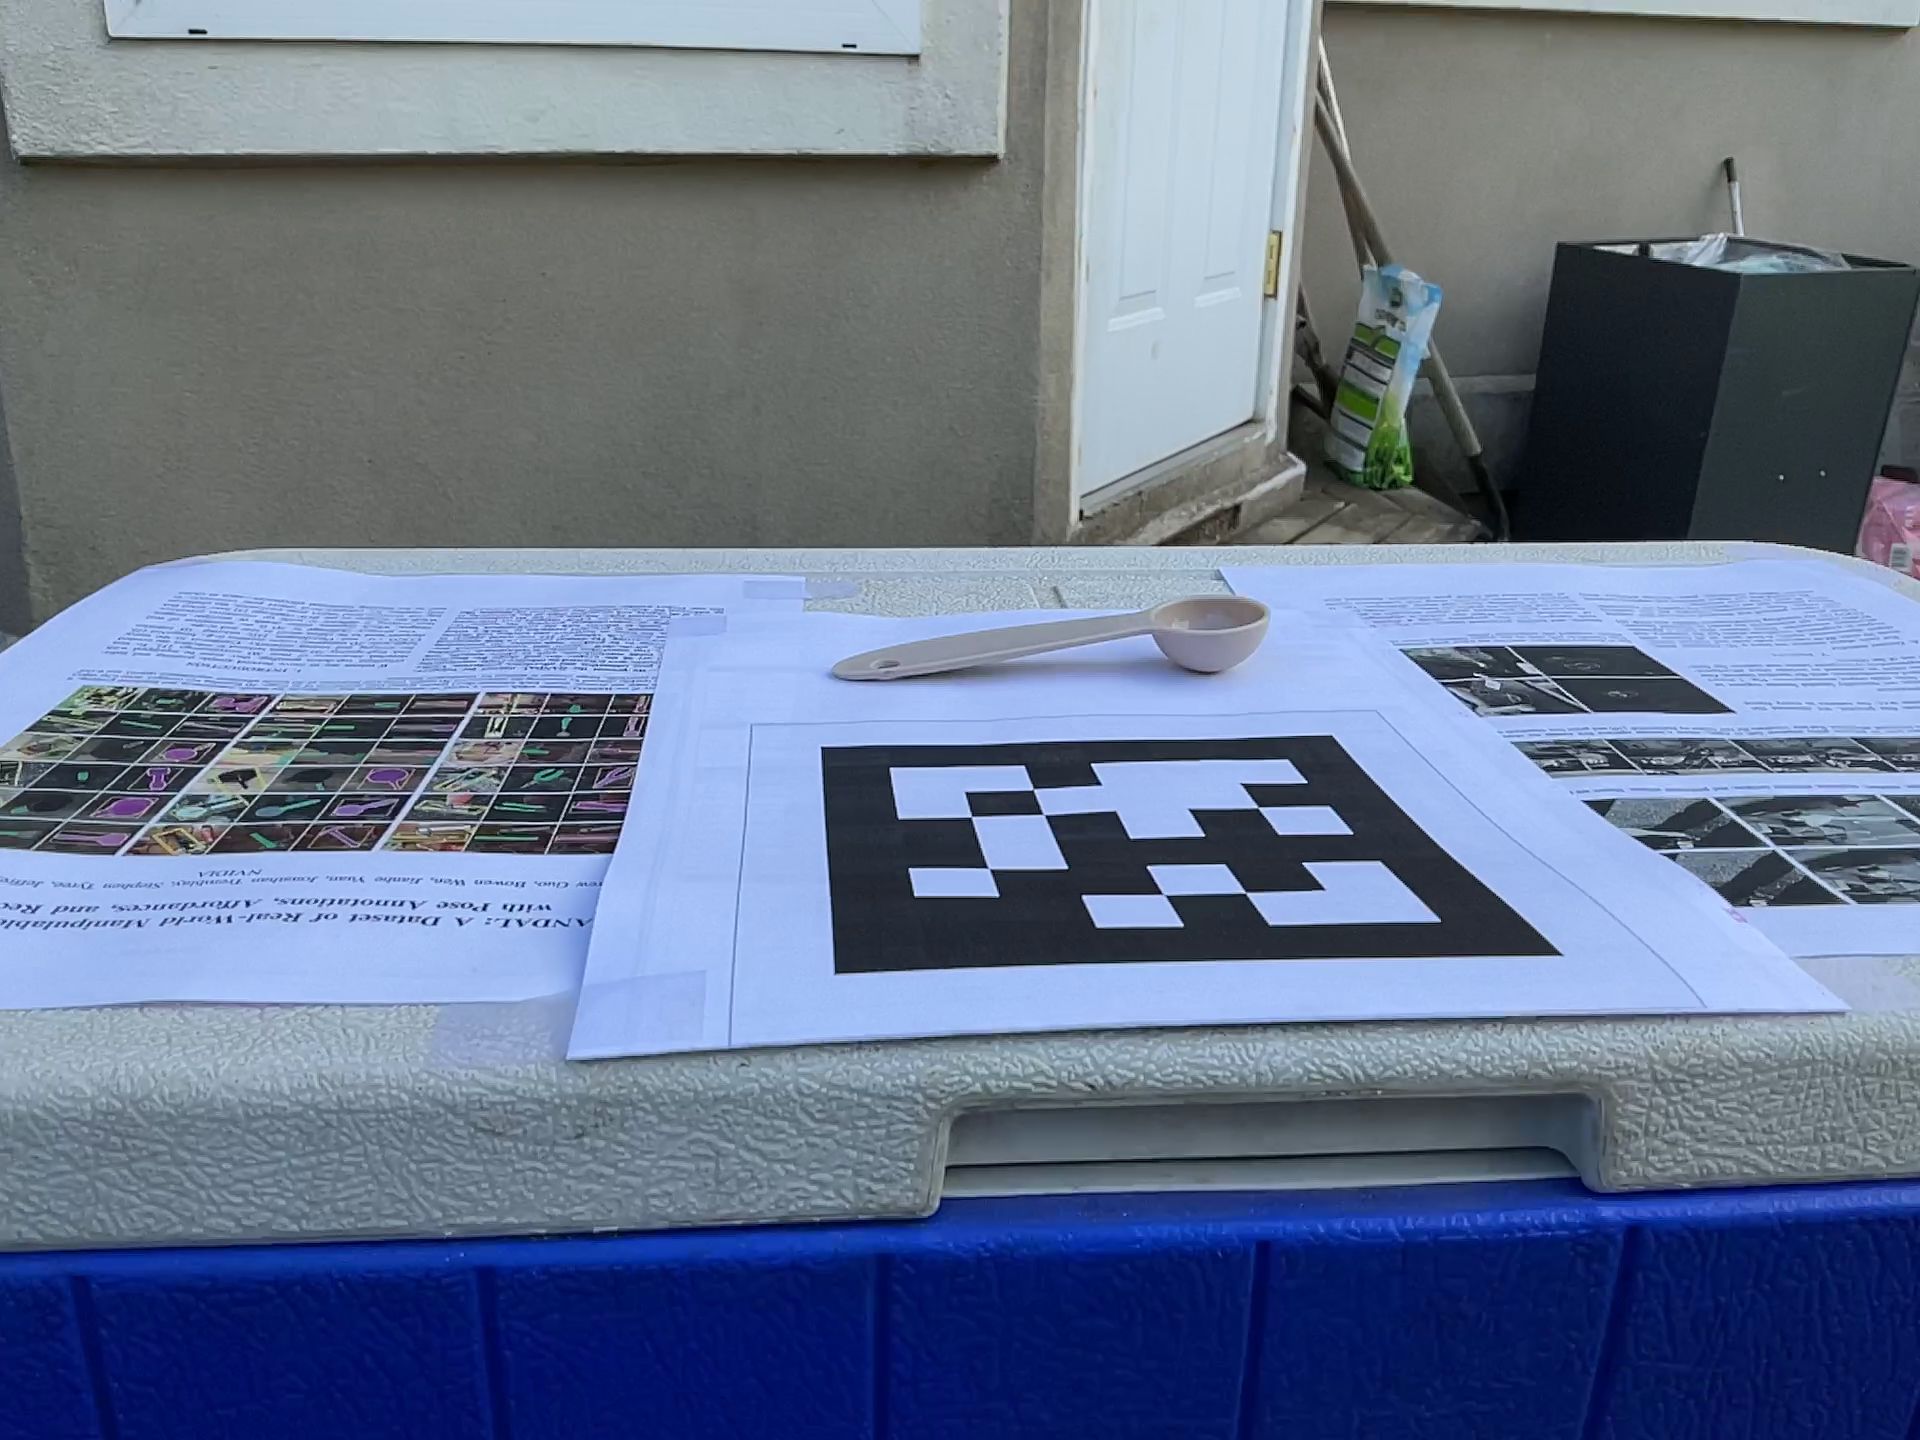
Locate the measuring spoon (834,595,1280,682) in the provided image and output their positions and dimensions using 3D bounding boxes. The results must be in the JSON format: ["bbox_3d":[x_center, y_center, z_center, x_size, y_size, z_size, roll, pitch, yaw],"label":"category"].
[{"bbox_3d":[0.027,-0.016,0.446,0.124,0.018,0.034,-8,22,-3],"label":"measuring spoon"}]
